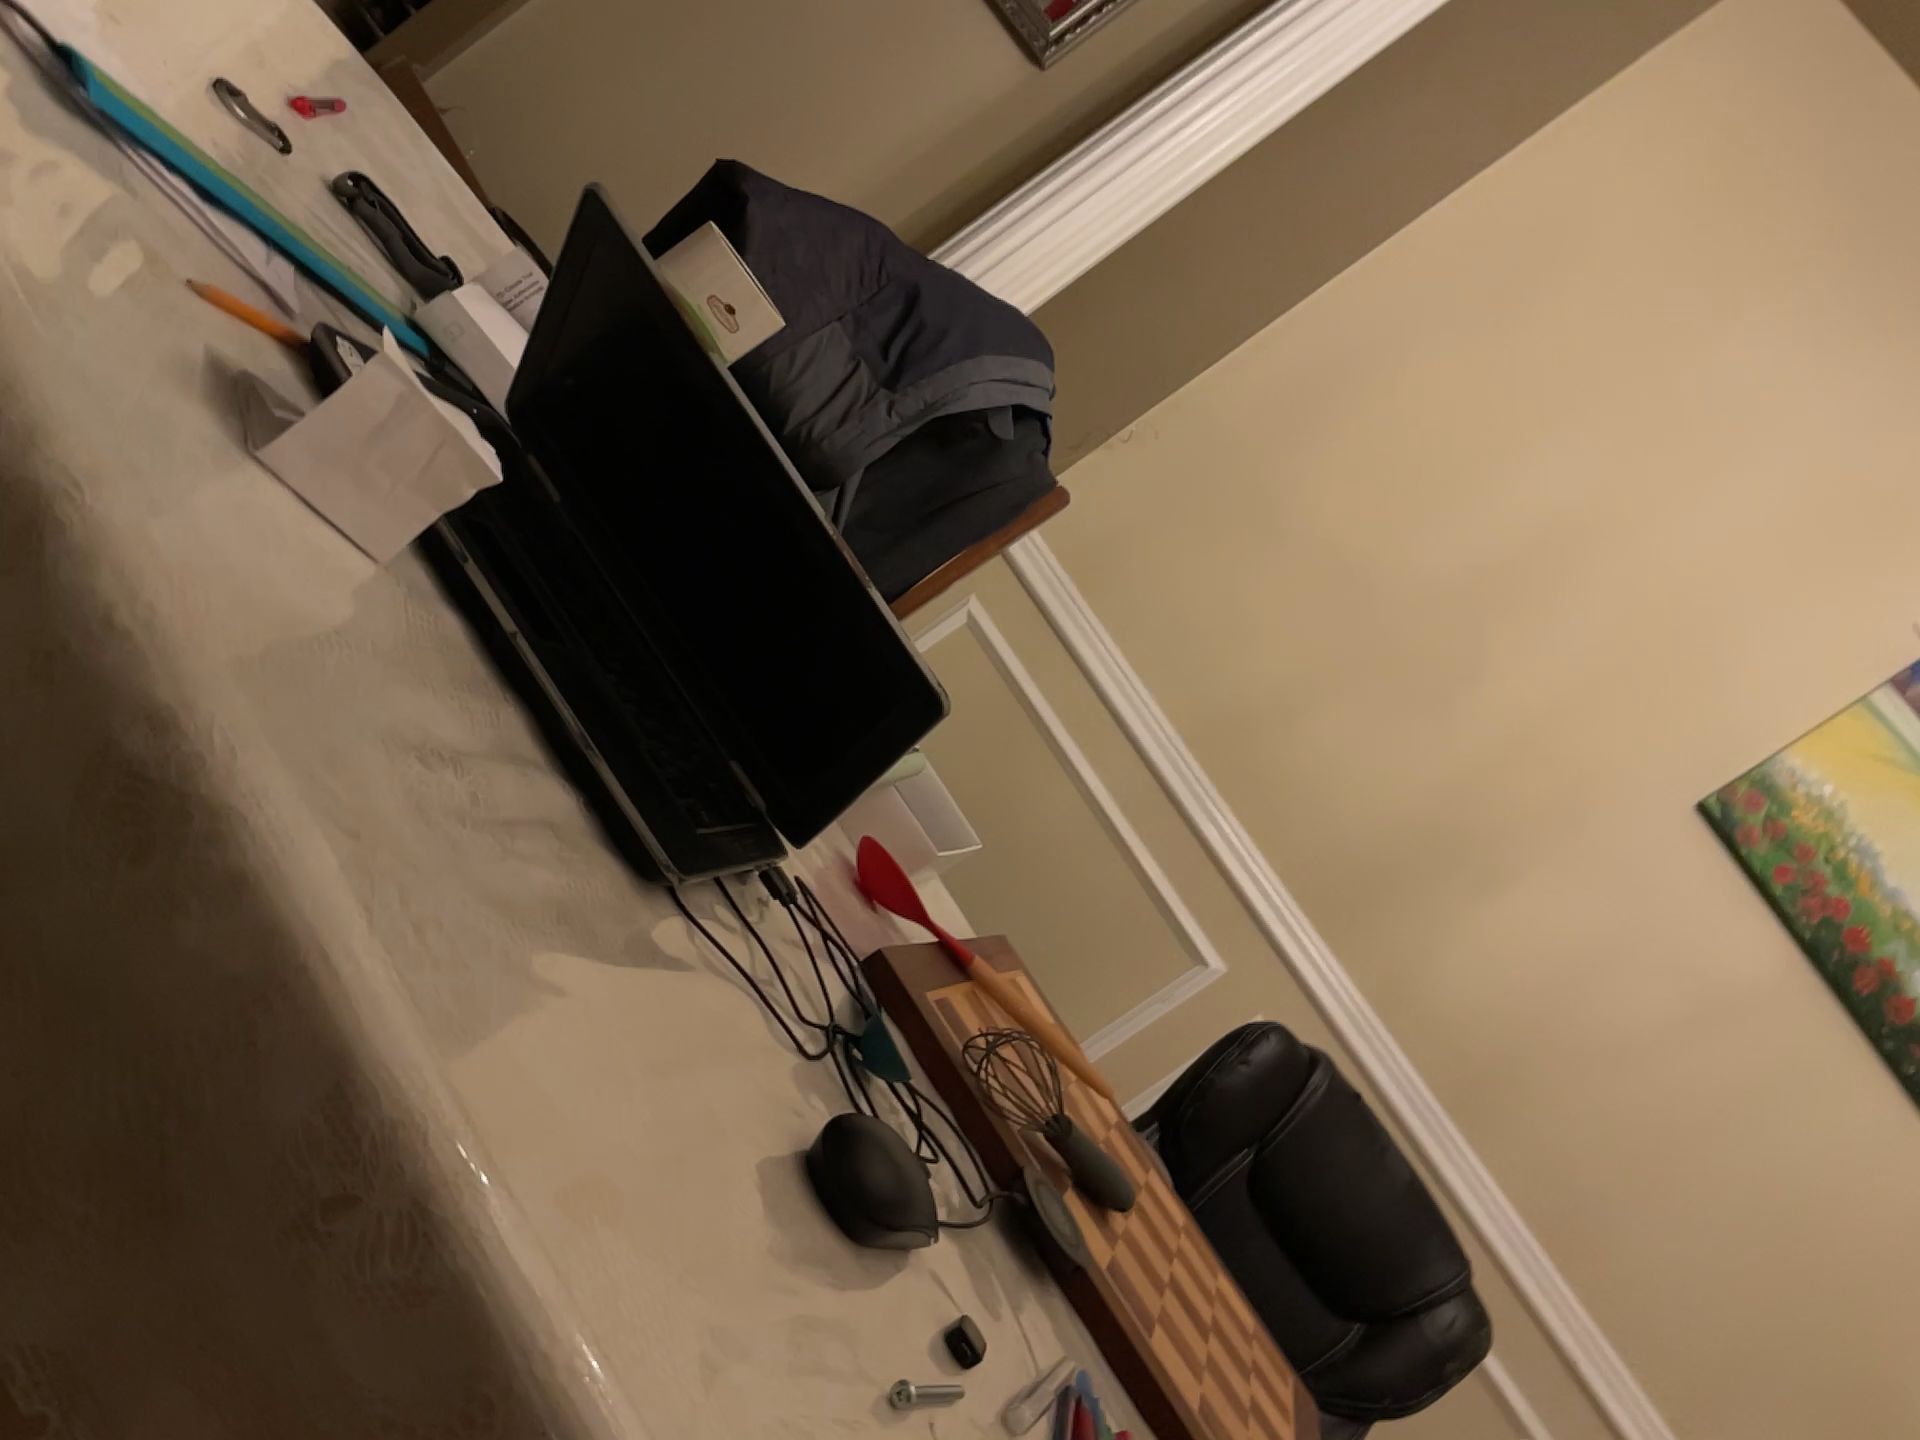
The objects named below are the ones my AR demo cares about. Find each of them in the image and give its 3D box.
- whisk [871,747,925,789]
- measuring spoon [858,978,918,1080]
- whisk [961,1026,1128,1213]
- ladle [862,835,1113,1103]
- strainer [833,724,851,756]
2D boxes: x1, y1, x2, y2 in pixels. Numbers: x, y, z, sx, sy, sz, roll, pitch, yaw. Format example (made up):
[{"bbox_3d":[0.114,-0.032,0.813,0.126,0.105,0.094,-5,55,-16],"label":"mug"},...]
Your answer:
[{"bbox_3d":[-0.079,0.041,1.172,0.246,0.058,0.059,-13,98,-70],"label":"whisk"},{"bbox_3d":[-0.053,0.179,0.934,0.042,0.021,0.129,62,-9,-14],"label":"measuring spoon"},{"bbox_3d":[0.064,0.276,1.073,0.238,0.055,0.055,56,17,-40],"label":"whisk"},{"bbox_3d":[0.024,0.203,1.235,0.315,0.031,0.069,48,-14,-24],"label":"ladle"},{"bbox_3d":[-0.157,-0.060,1.006,0.341,0.095,0.210,53,-11,48],"label":"strainer"}]
